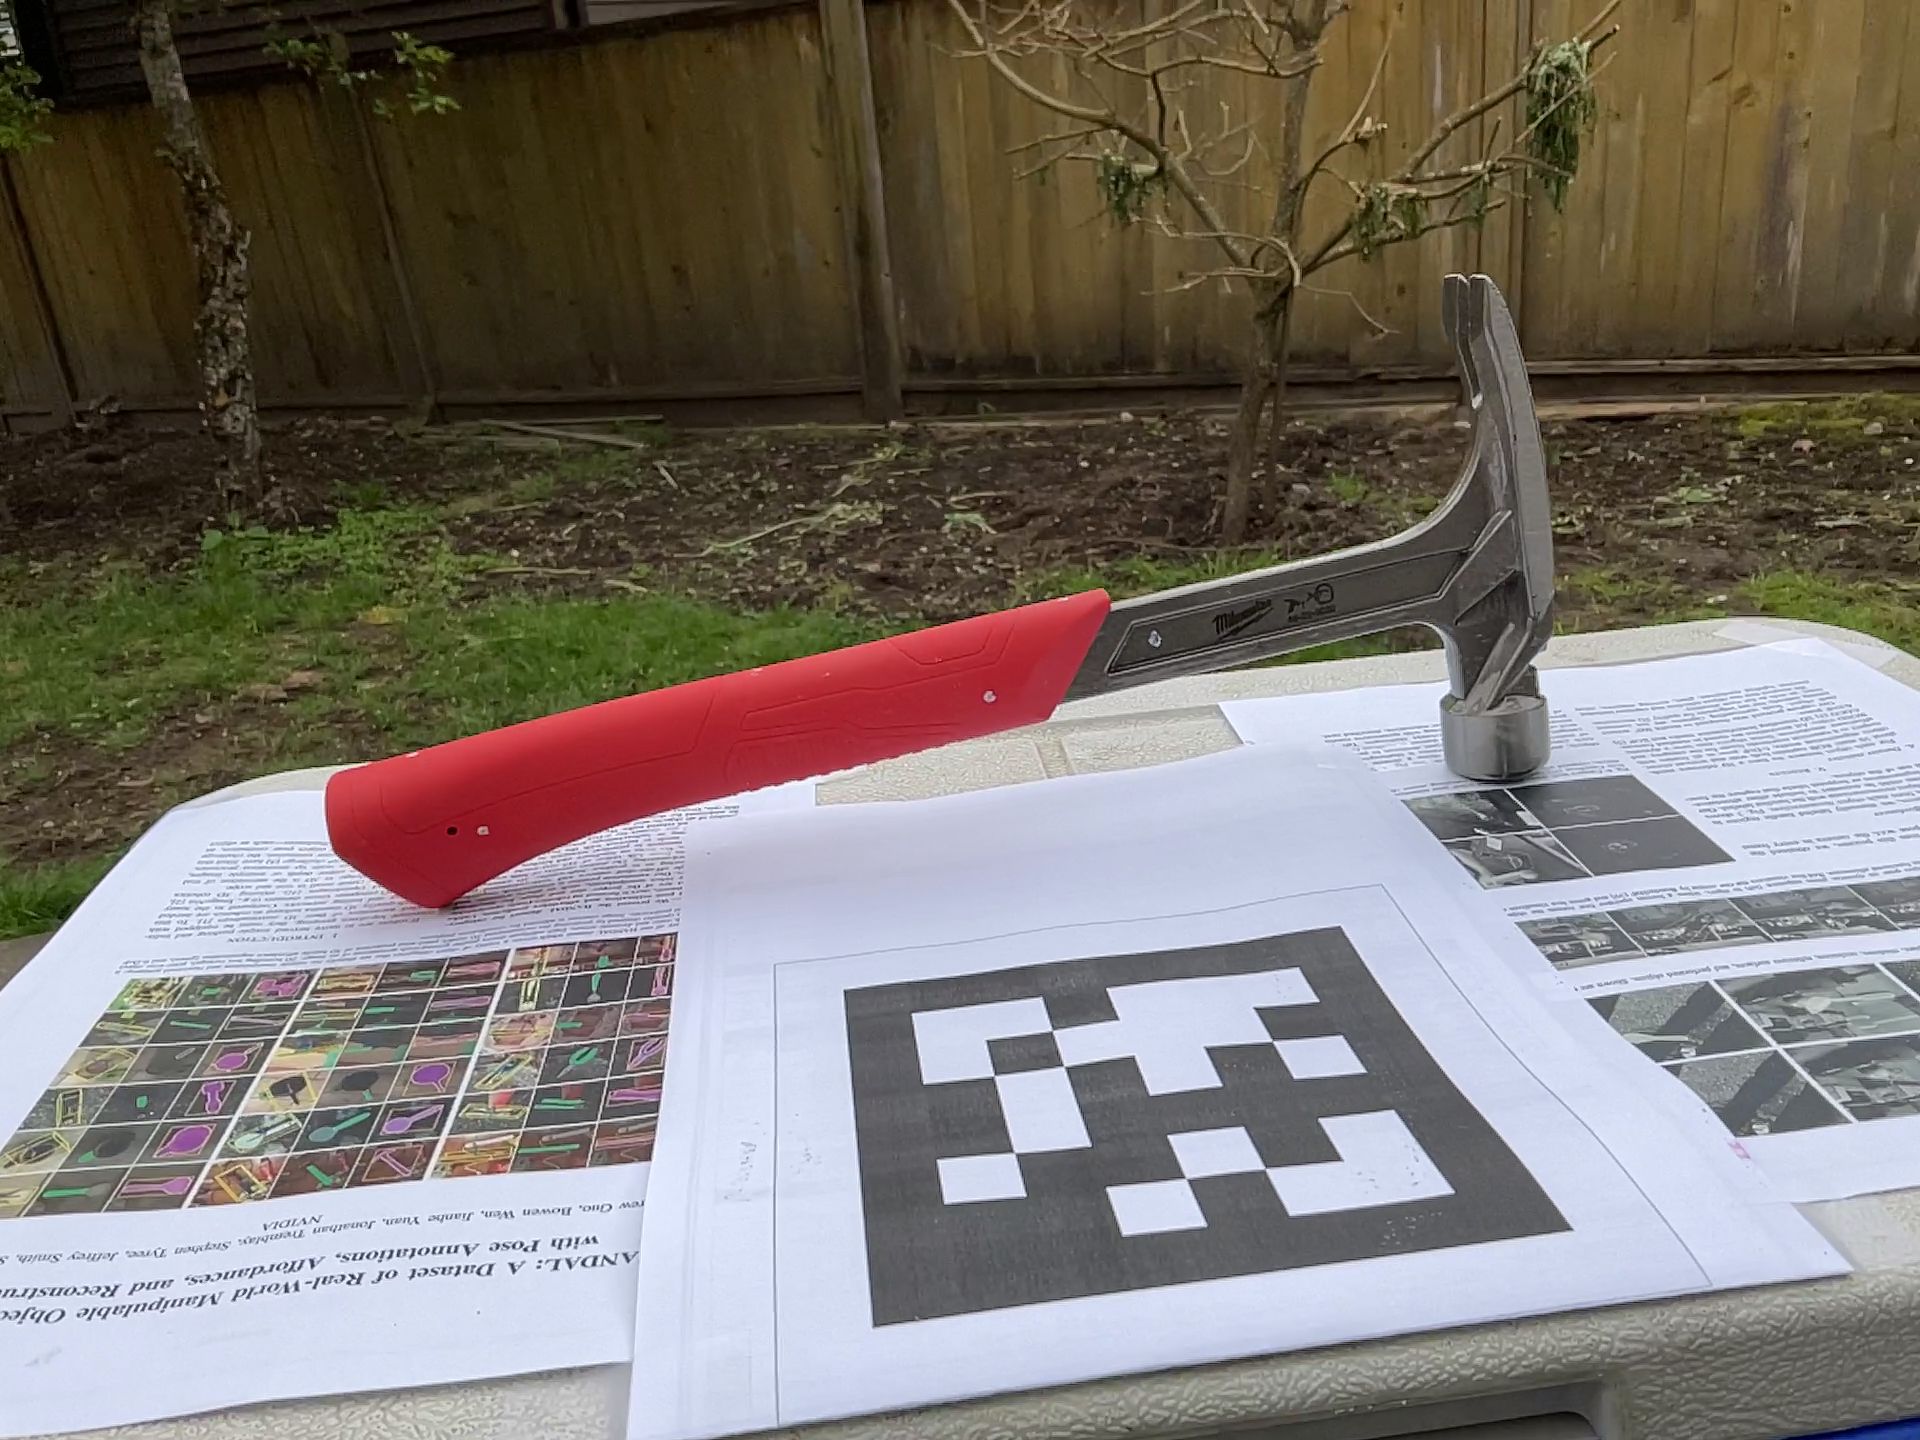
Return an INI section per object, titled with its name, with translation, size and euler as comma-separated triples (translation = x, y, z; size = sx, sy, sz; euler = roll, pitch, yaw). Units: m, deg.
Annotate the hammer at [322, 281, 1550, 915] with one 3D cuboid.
[hammer]
translation = -0.004, -0.018, 0.467
size = 0.359, 0.149, 0.037
euler = -13, 16, -4
